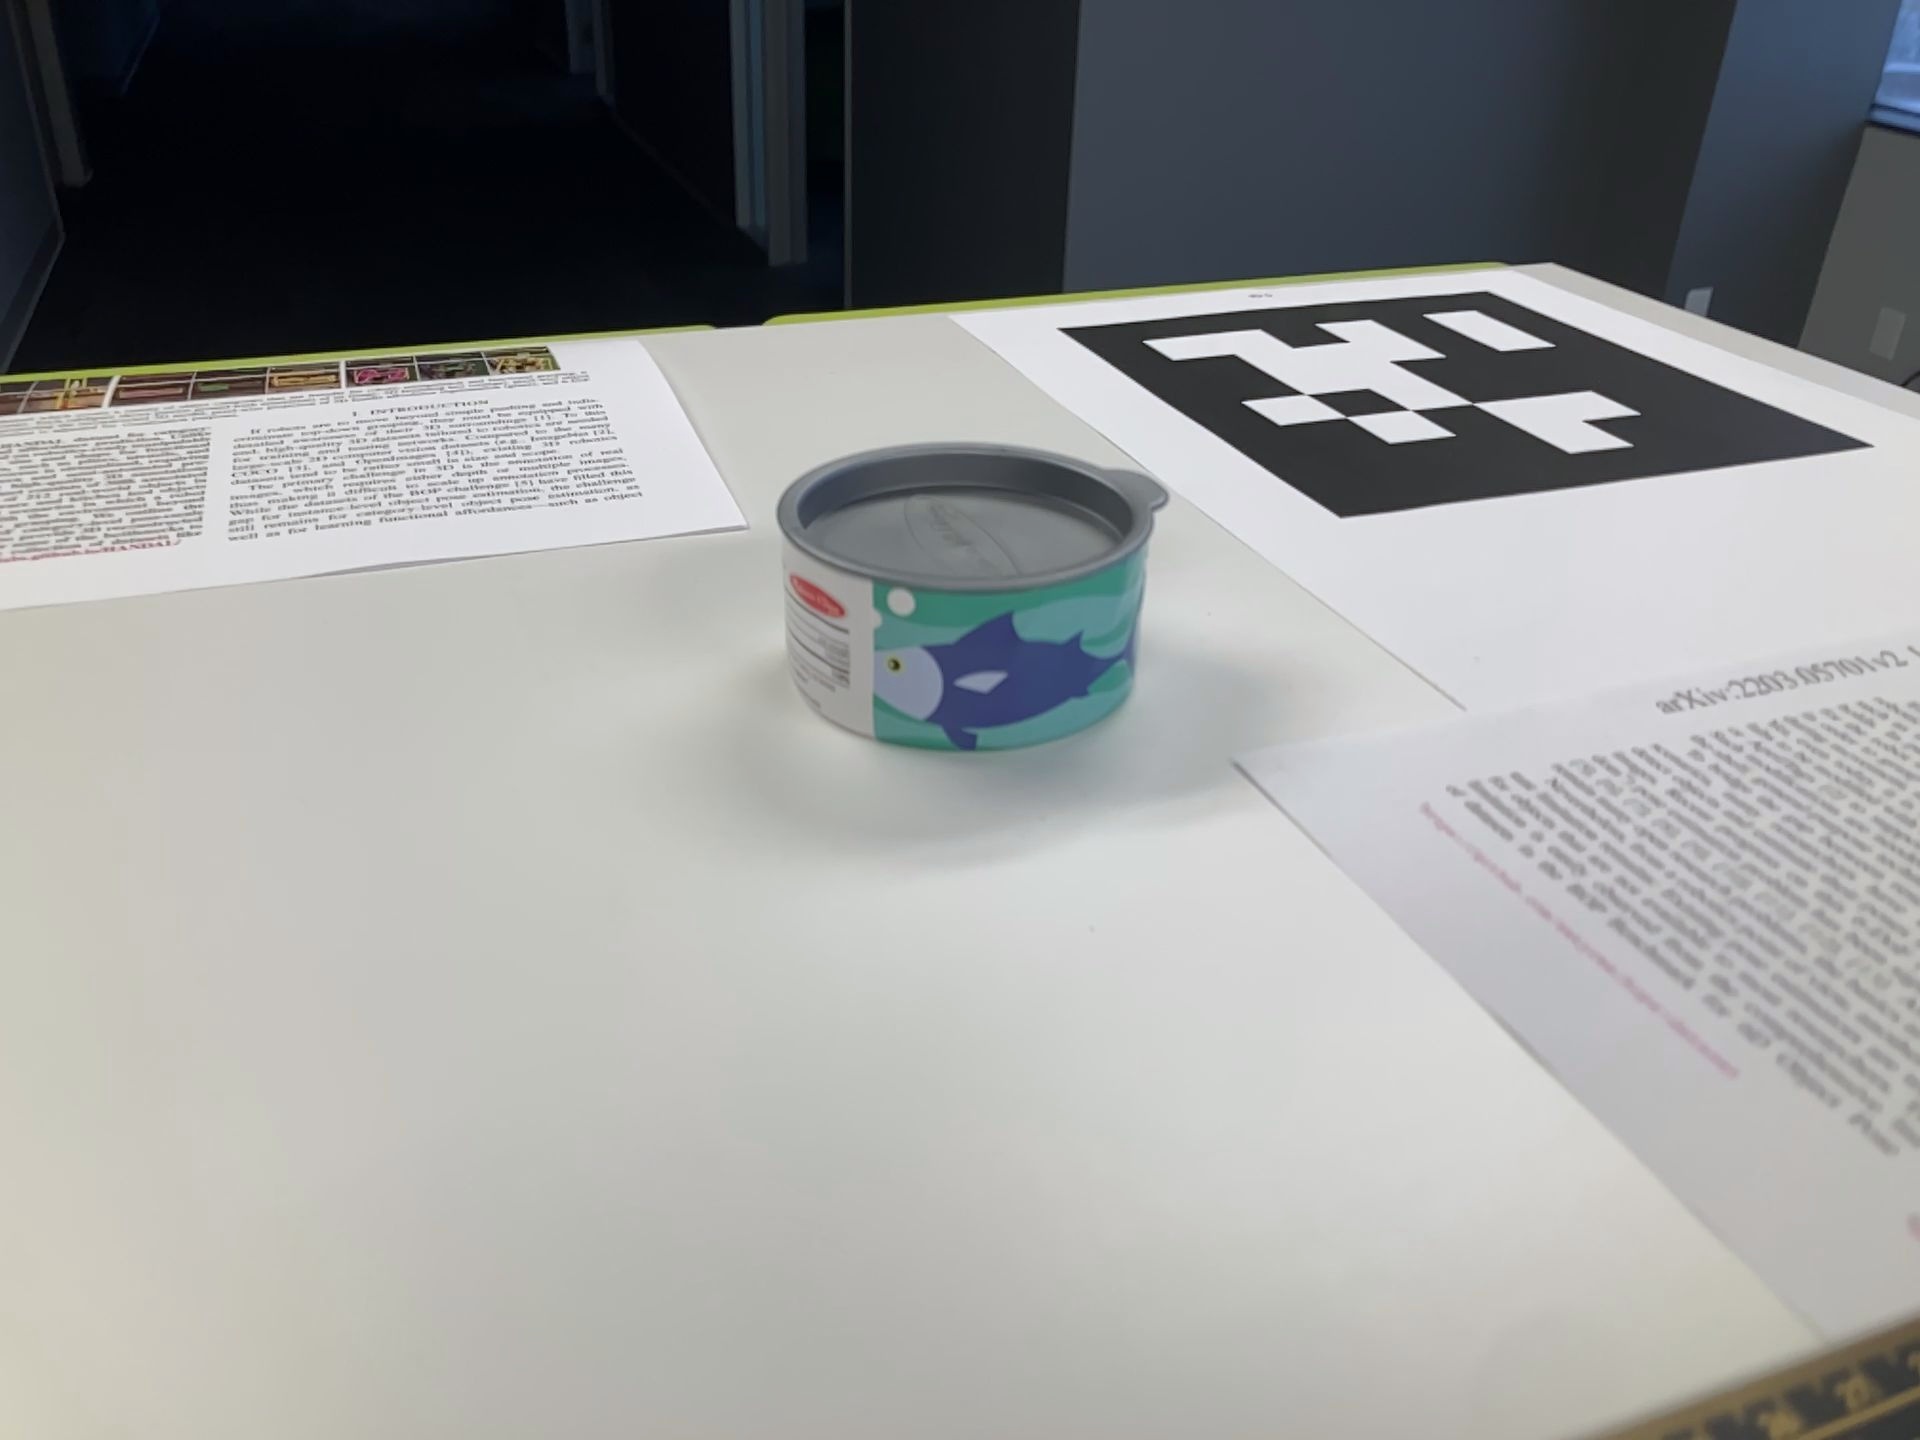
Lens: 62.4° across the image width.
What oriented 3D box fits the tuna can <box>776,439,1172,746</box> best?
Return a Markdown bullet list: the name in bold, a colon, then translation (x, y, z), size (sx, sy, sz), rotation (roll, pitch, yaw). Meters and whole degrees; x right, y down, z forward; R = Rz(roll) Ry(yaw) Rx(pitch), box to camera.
- **tuna can**: translation (0.003, -0.025, 0.286), size (0.071, 0.033, 0.071), rotation (1, 29, -1)
